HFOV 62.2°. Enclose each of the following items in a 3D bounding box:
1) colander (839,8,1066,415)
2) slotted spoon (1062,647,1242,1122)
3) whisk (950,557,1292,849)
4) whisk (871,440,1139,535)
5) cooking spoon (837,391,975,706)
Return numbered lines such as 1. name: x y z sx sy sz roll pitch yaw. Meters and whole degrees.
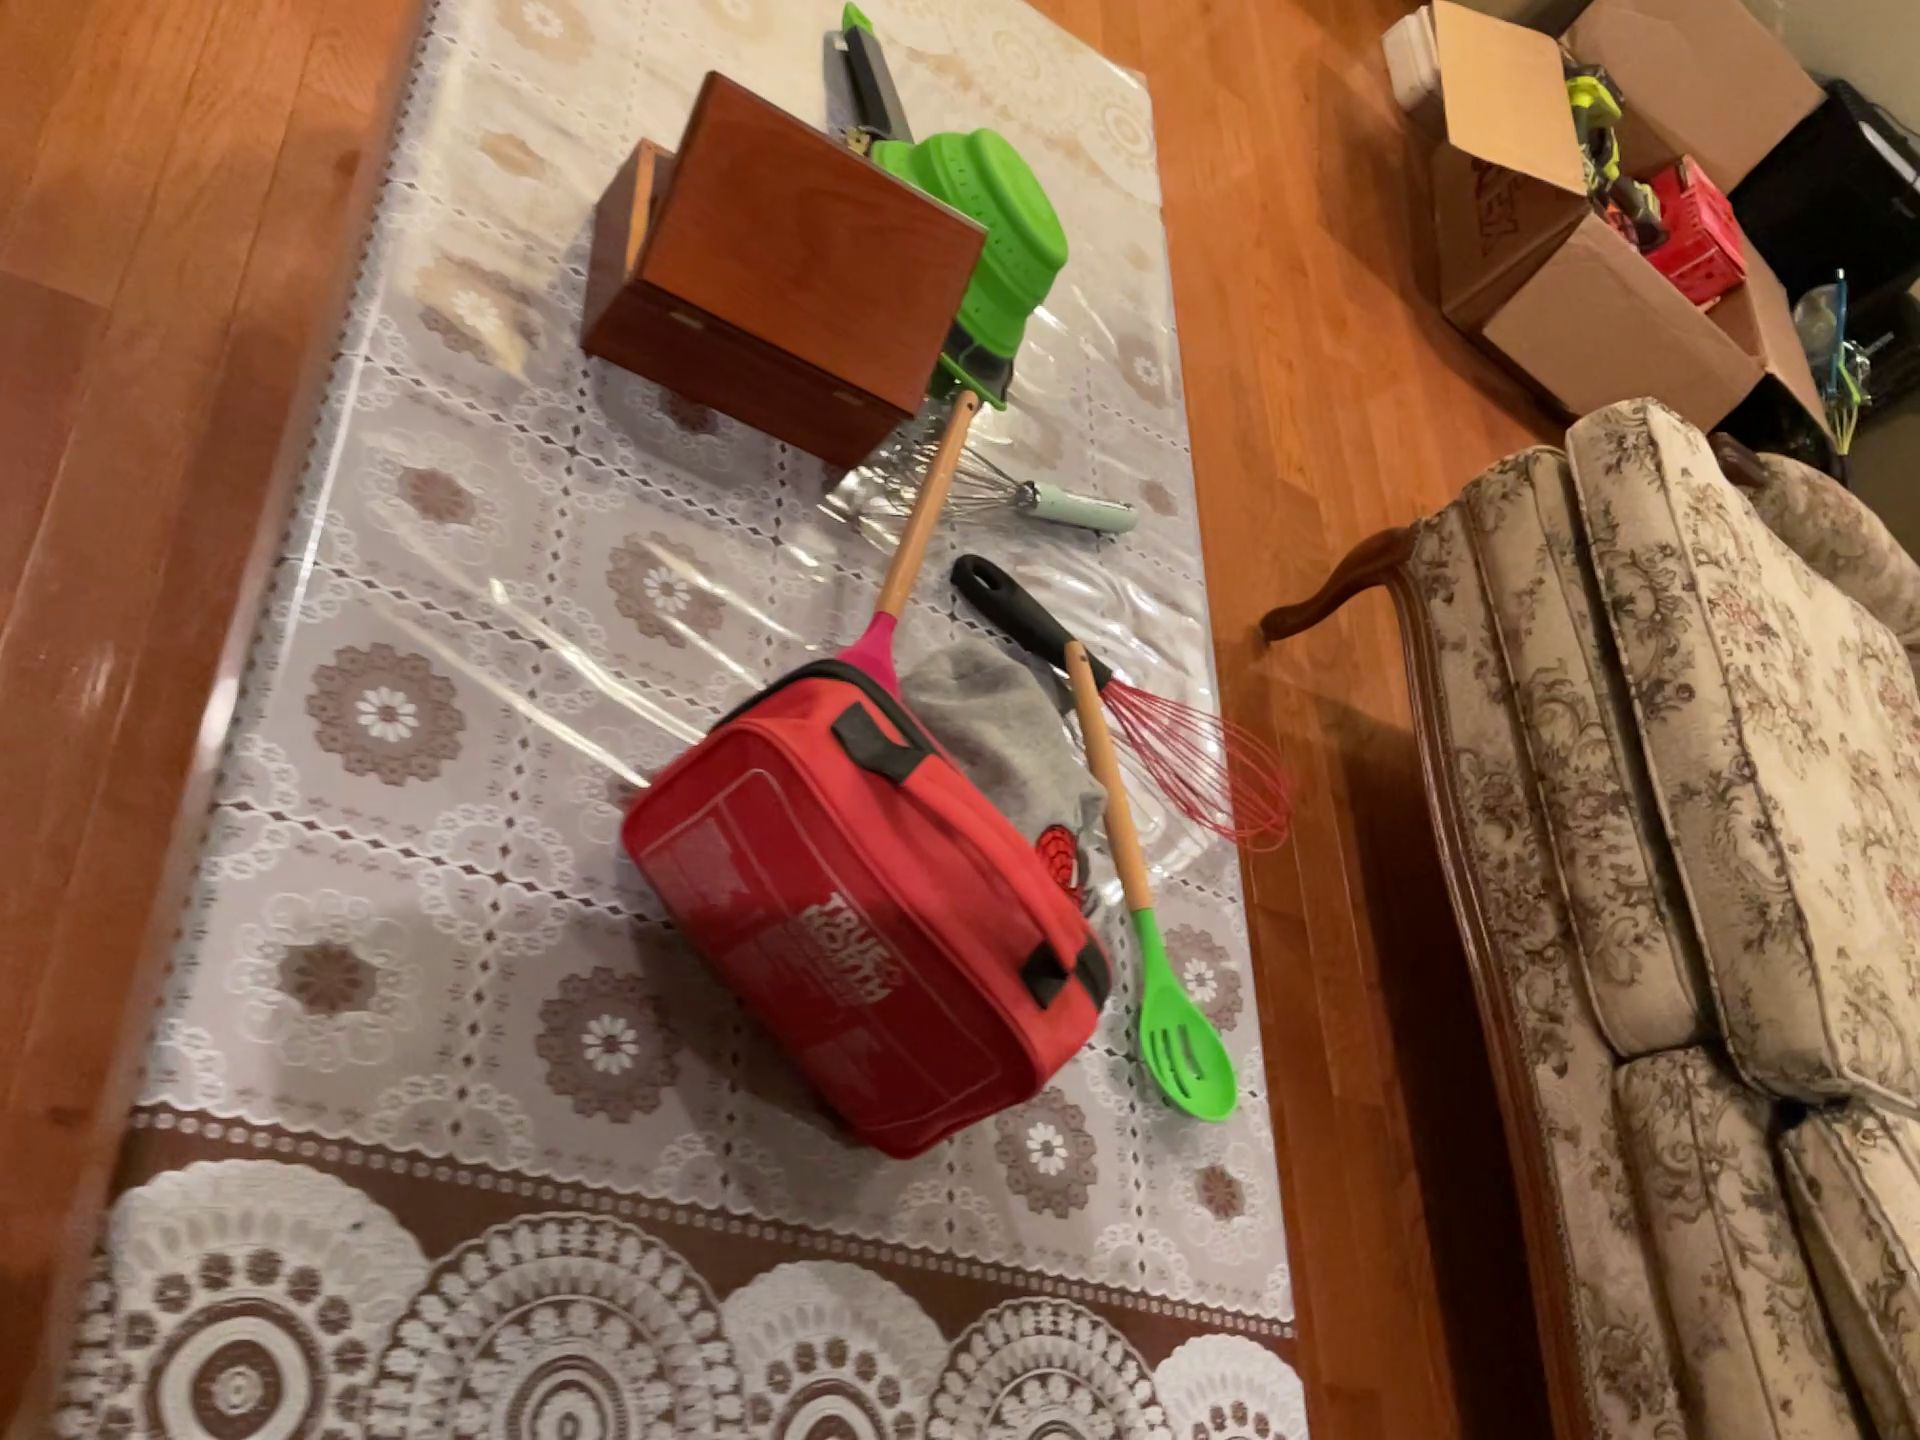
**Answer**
1. colander: -0.011 -0.408 1.155 0.204 0.094 0.398 30 37 -51
2. slotted spoon: 0.110 0.098 0.998 0.070 0.031 0.314 2 66 -40
3. whisk: 0.111 -0.012 1.068 0.295 0.073 0.073 39 51 -7
4. whisk: 0.039 -0.153 1.109 0.246 0.059 0.058 2 104 -43
5. cooking spoon: -0.038 -0.080 0.966 0.068 0.017 0.319 32 58 -24
